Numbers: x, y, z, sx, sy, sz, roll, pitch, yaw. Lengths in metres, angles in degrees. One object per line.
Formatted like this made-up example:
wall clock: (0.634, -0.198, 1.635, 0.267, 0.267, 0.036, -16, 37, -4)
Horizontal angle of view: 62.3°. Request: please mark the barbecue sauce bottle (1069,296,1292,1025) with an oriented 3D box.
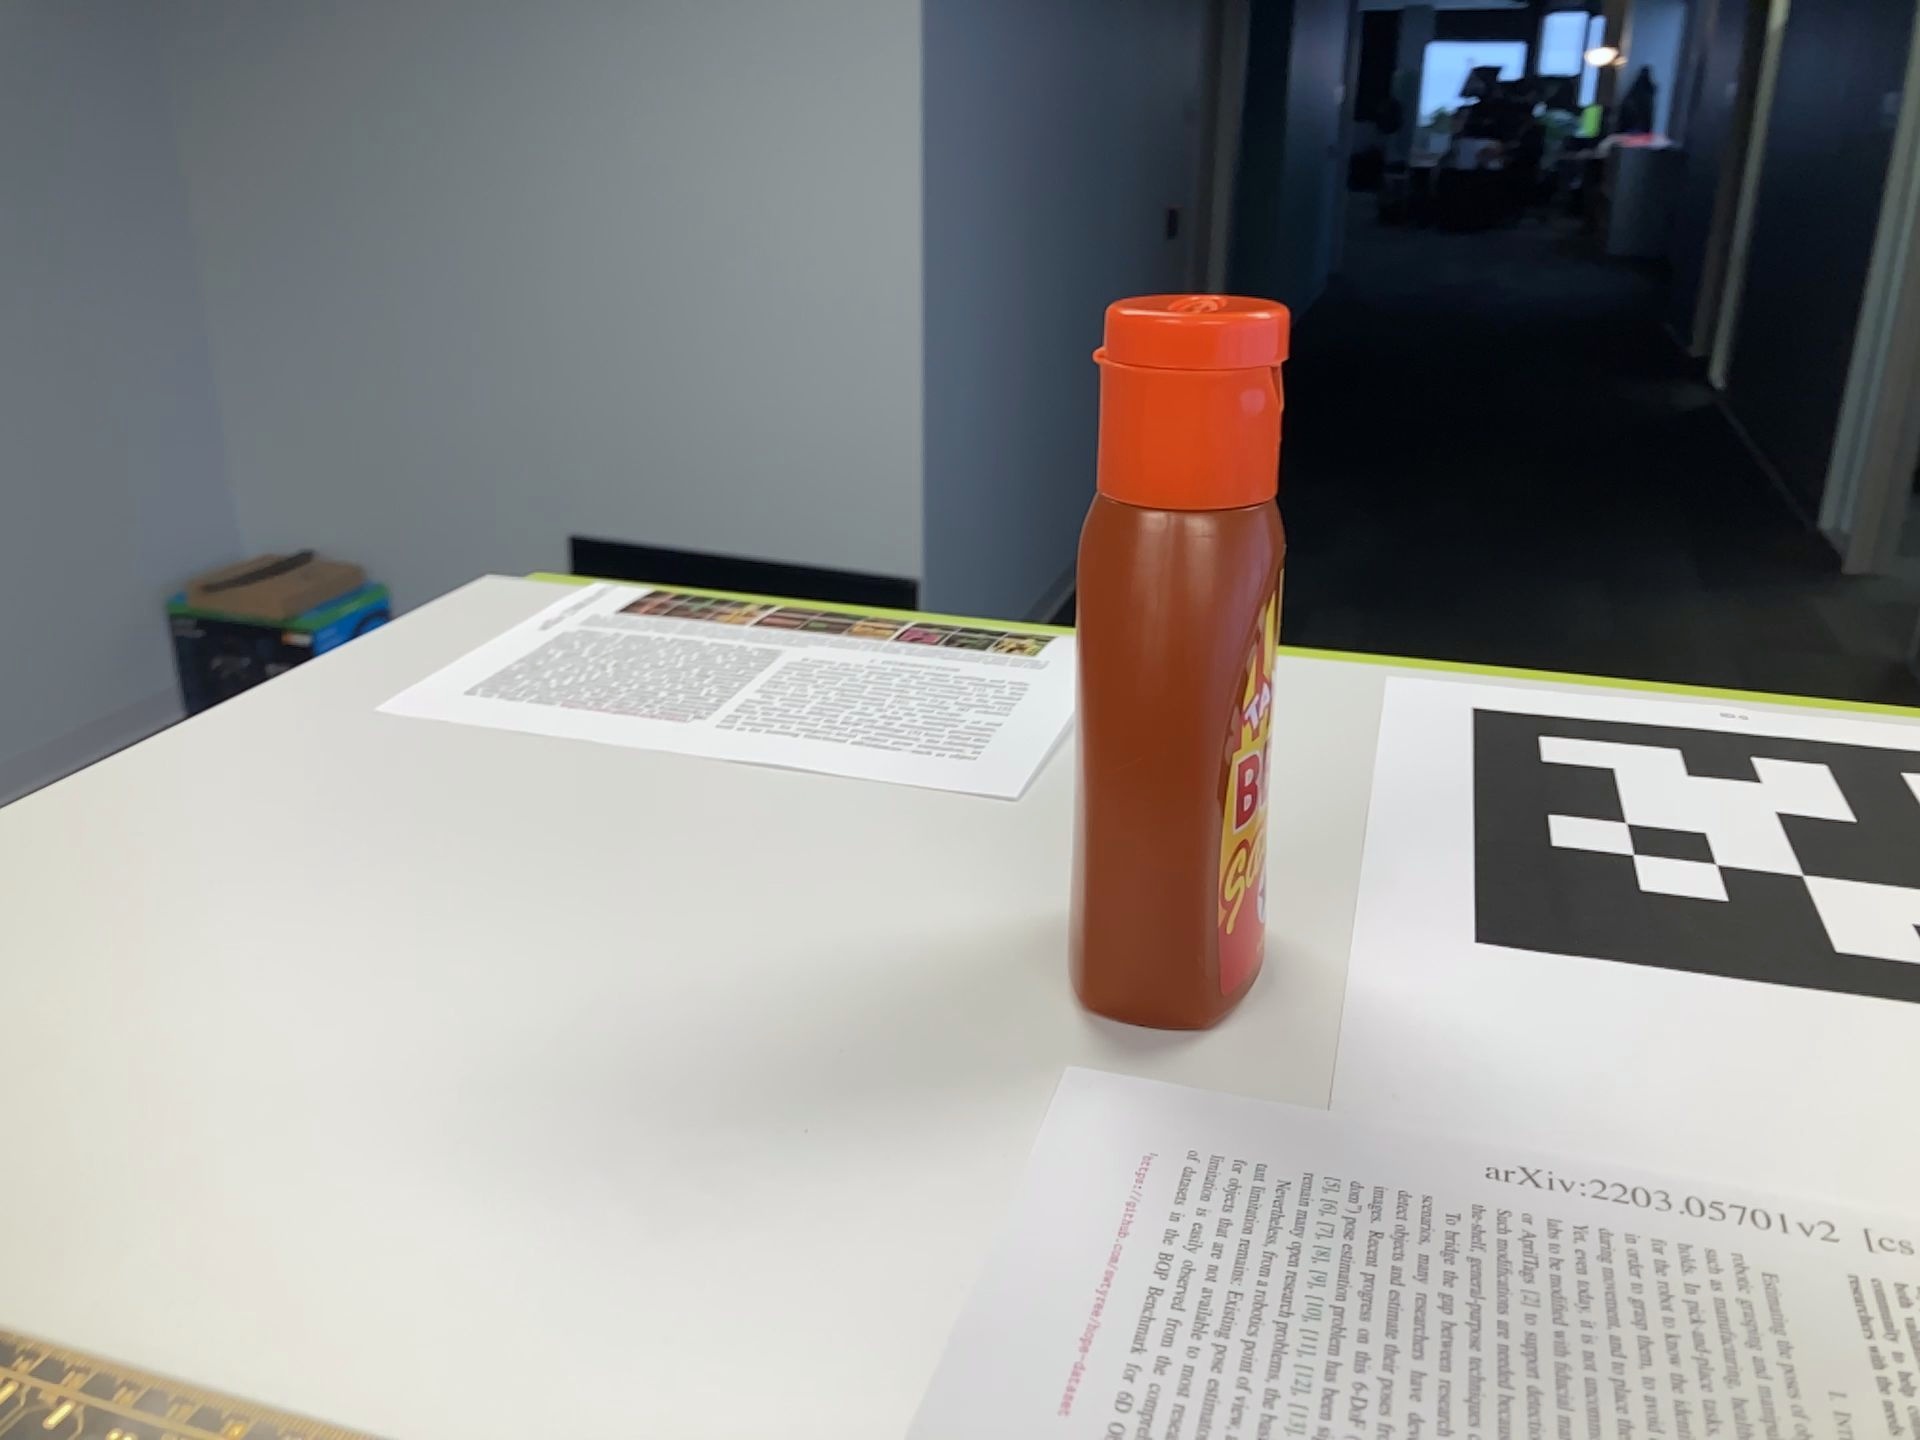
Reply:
barbecue sauce bottle: (0.047, -0.014, 0.341, 0.043, 0.148, 0.065, 6, 21, 18)
